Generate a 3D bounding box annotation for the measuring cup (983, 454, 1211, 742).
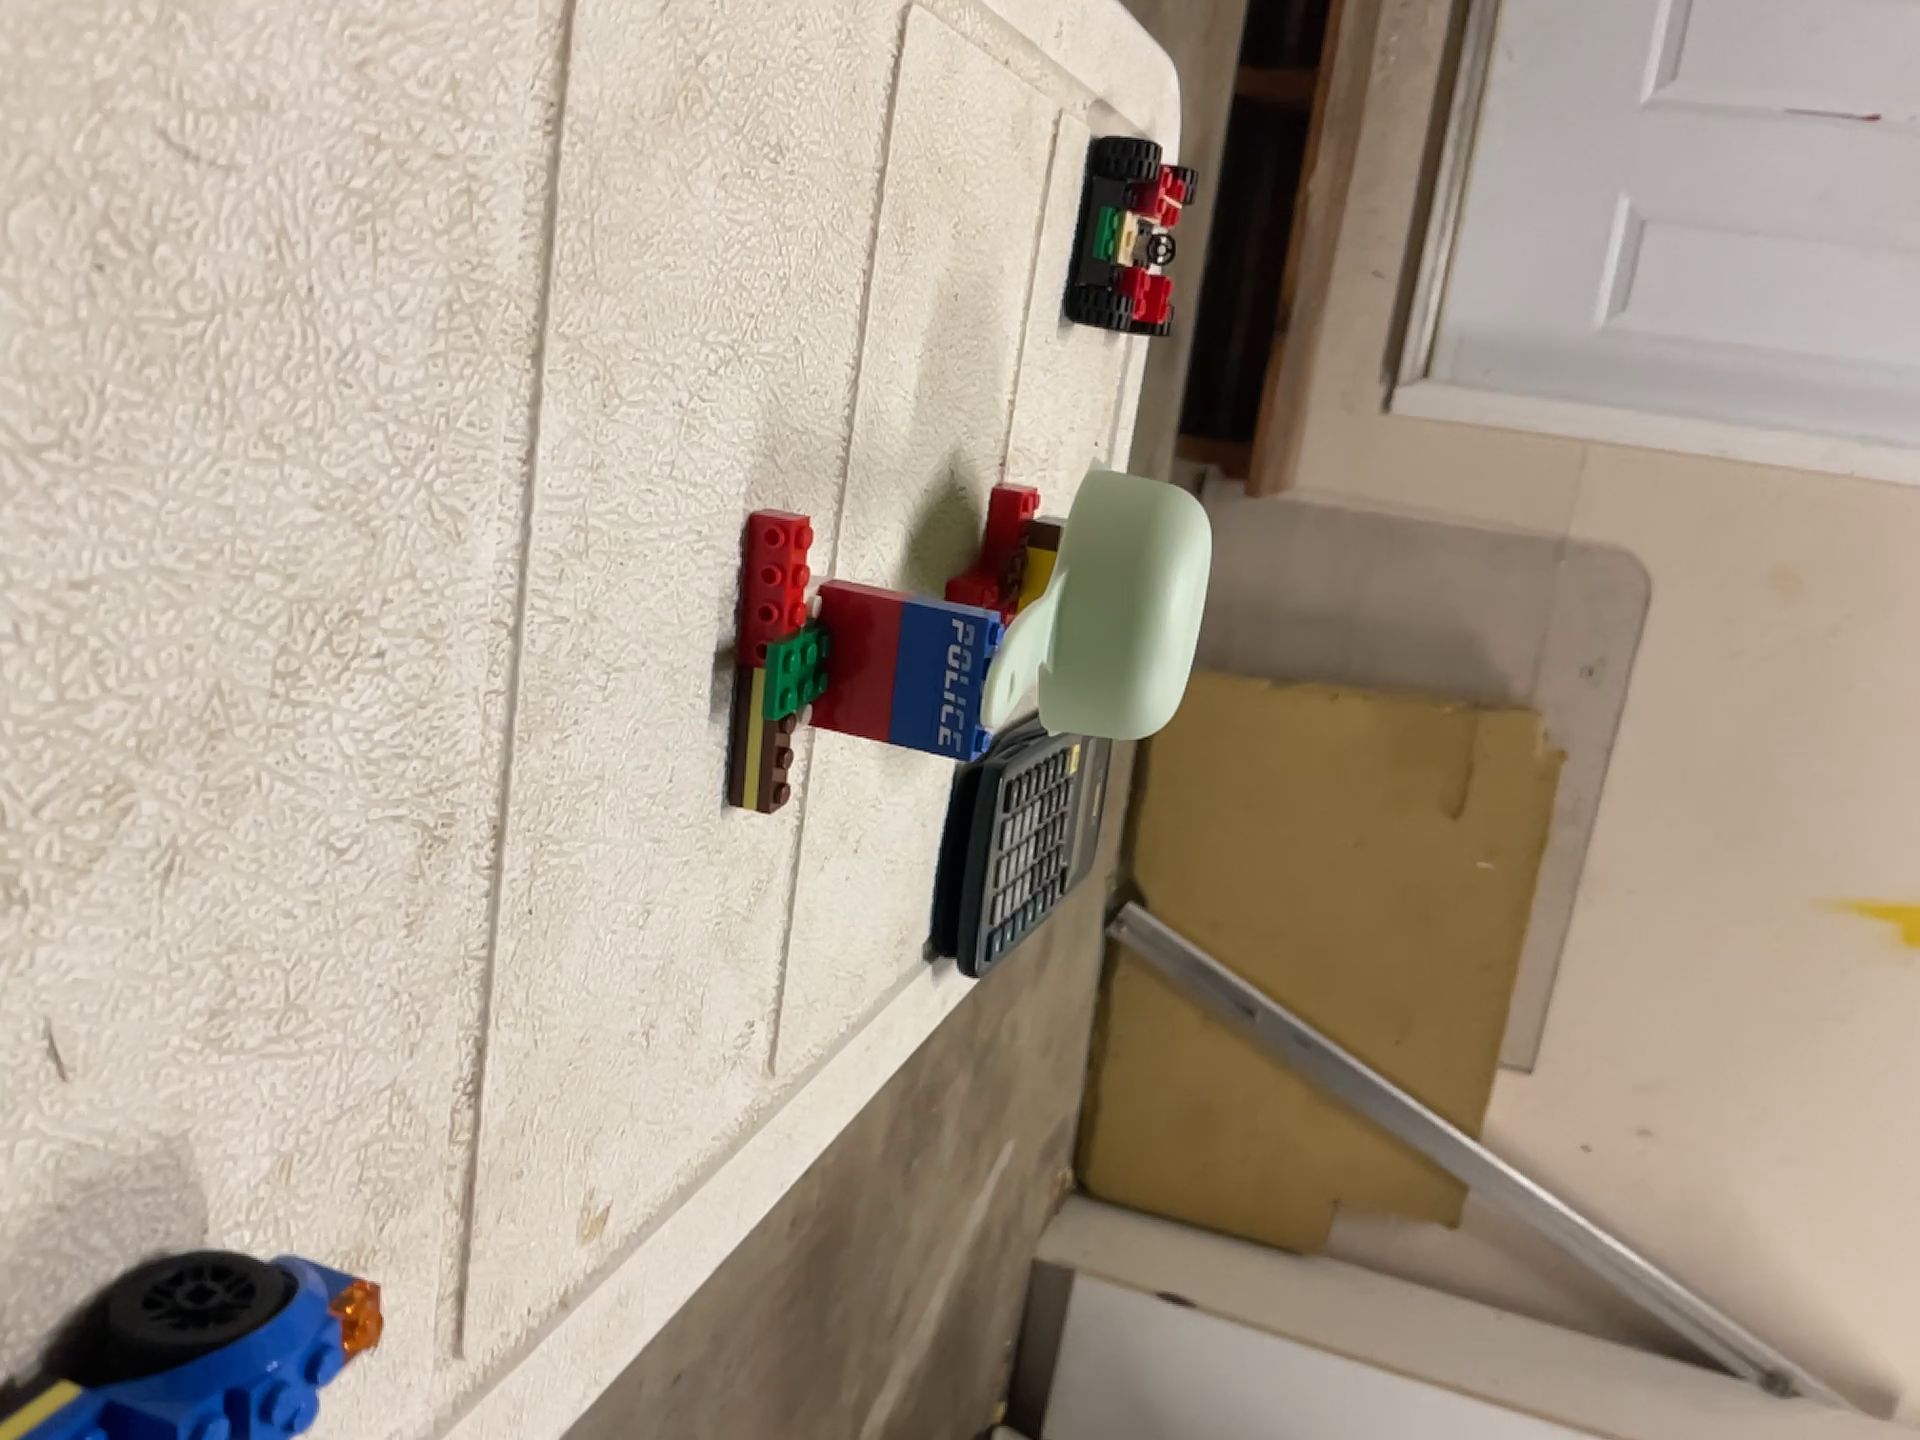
[{"bbox_3d":[0.038,-0.021,0.411,0.167,0.038,0.083,-47,146,-72],"label":"measuring cup"}]
